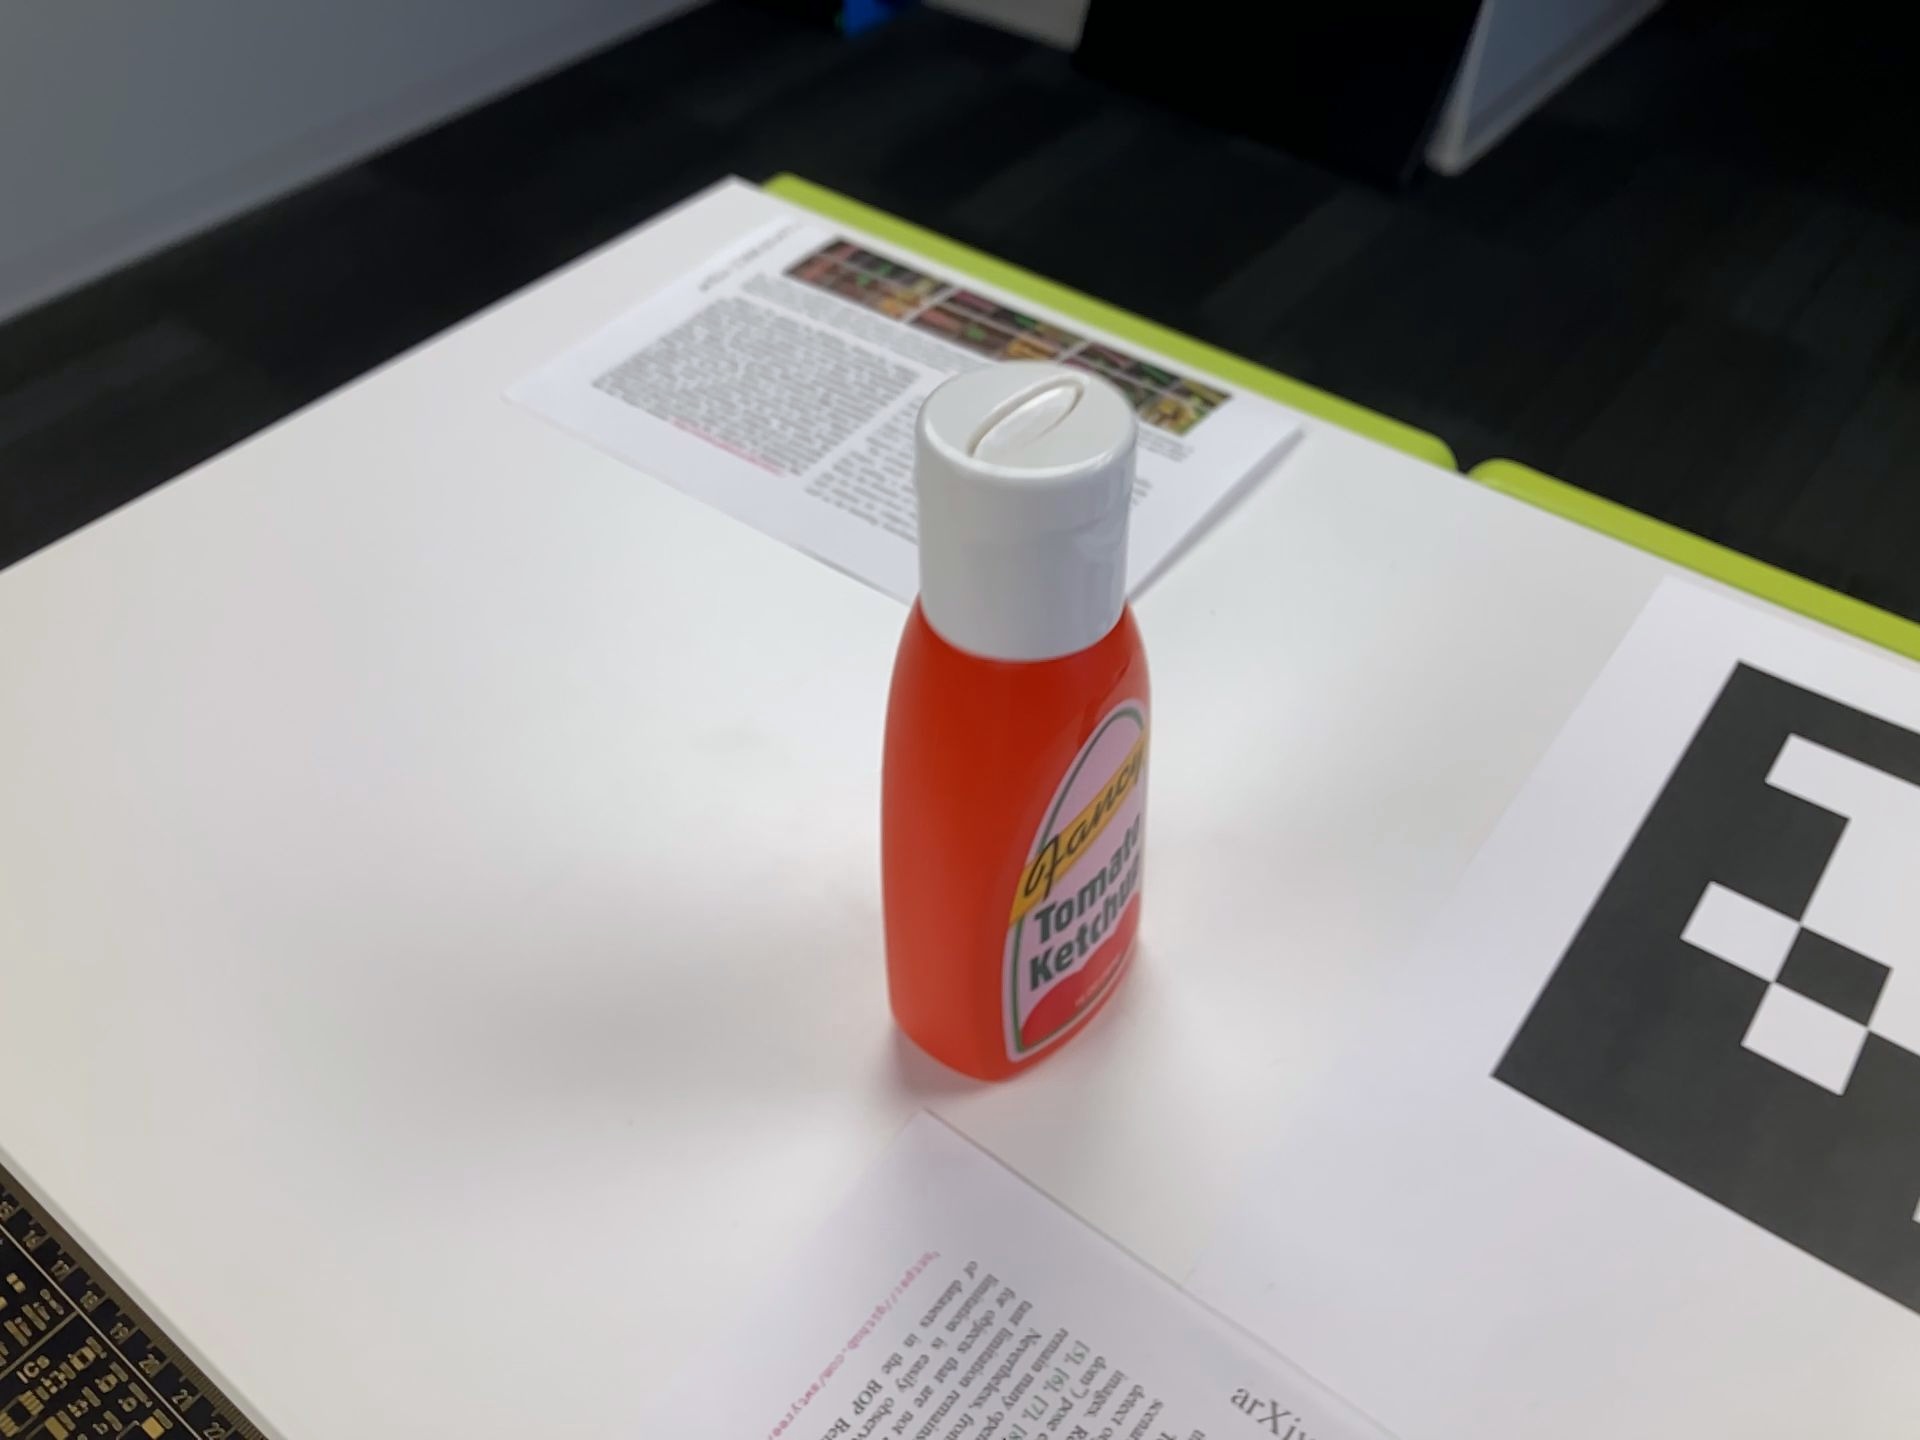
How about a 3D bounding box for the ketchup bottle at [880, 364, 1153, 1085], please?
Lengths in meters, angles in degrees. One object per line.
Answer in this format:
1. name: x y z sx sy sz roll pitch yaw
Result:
1. ketchup bottle: 0.011 0.005 0.308 0.043 0.149 0.065 29 52 28
